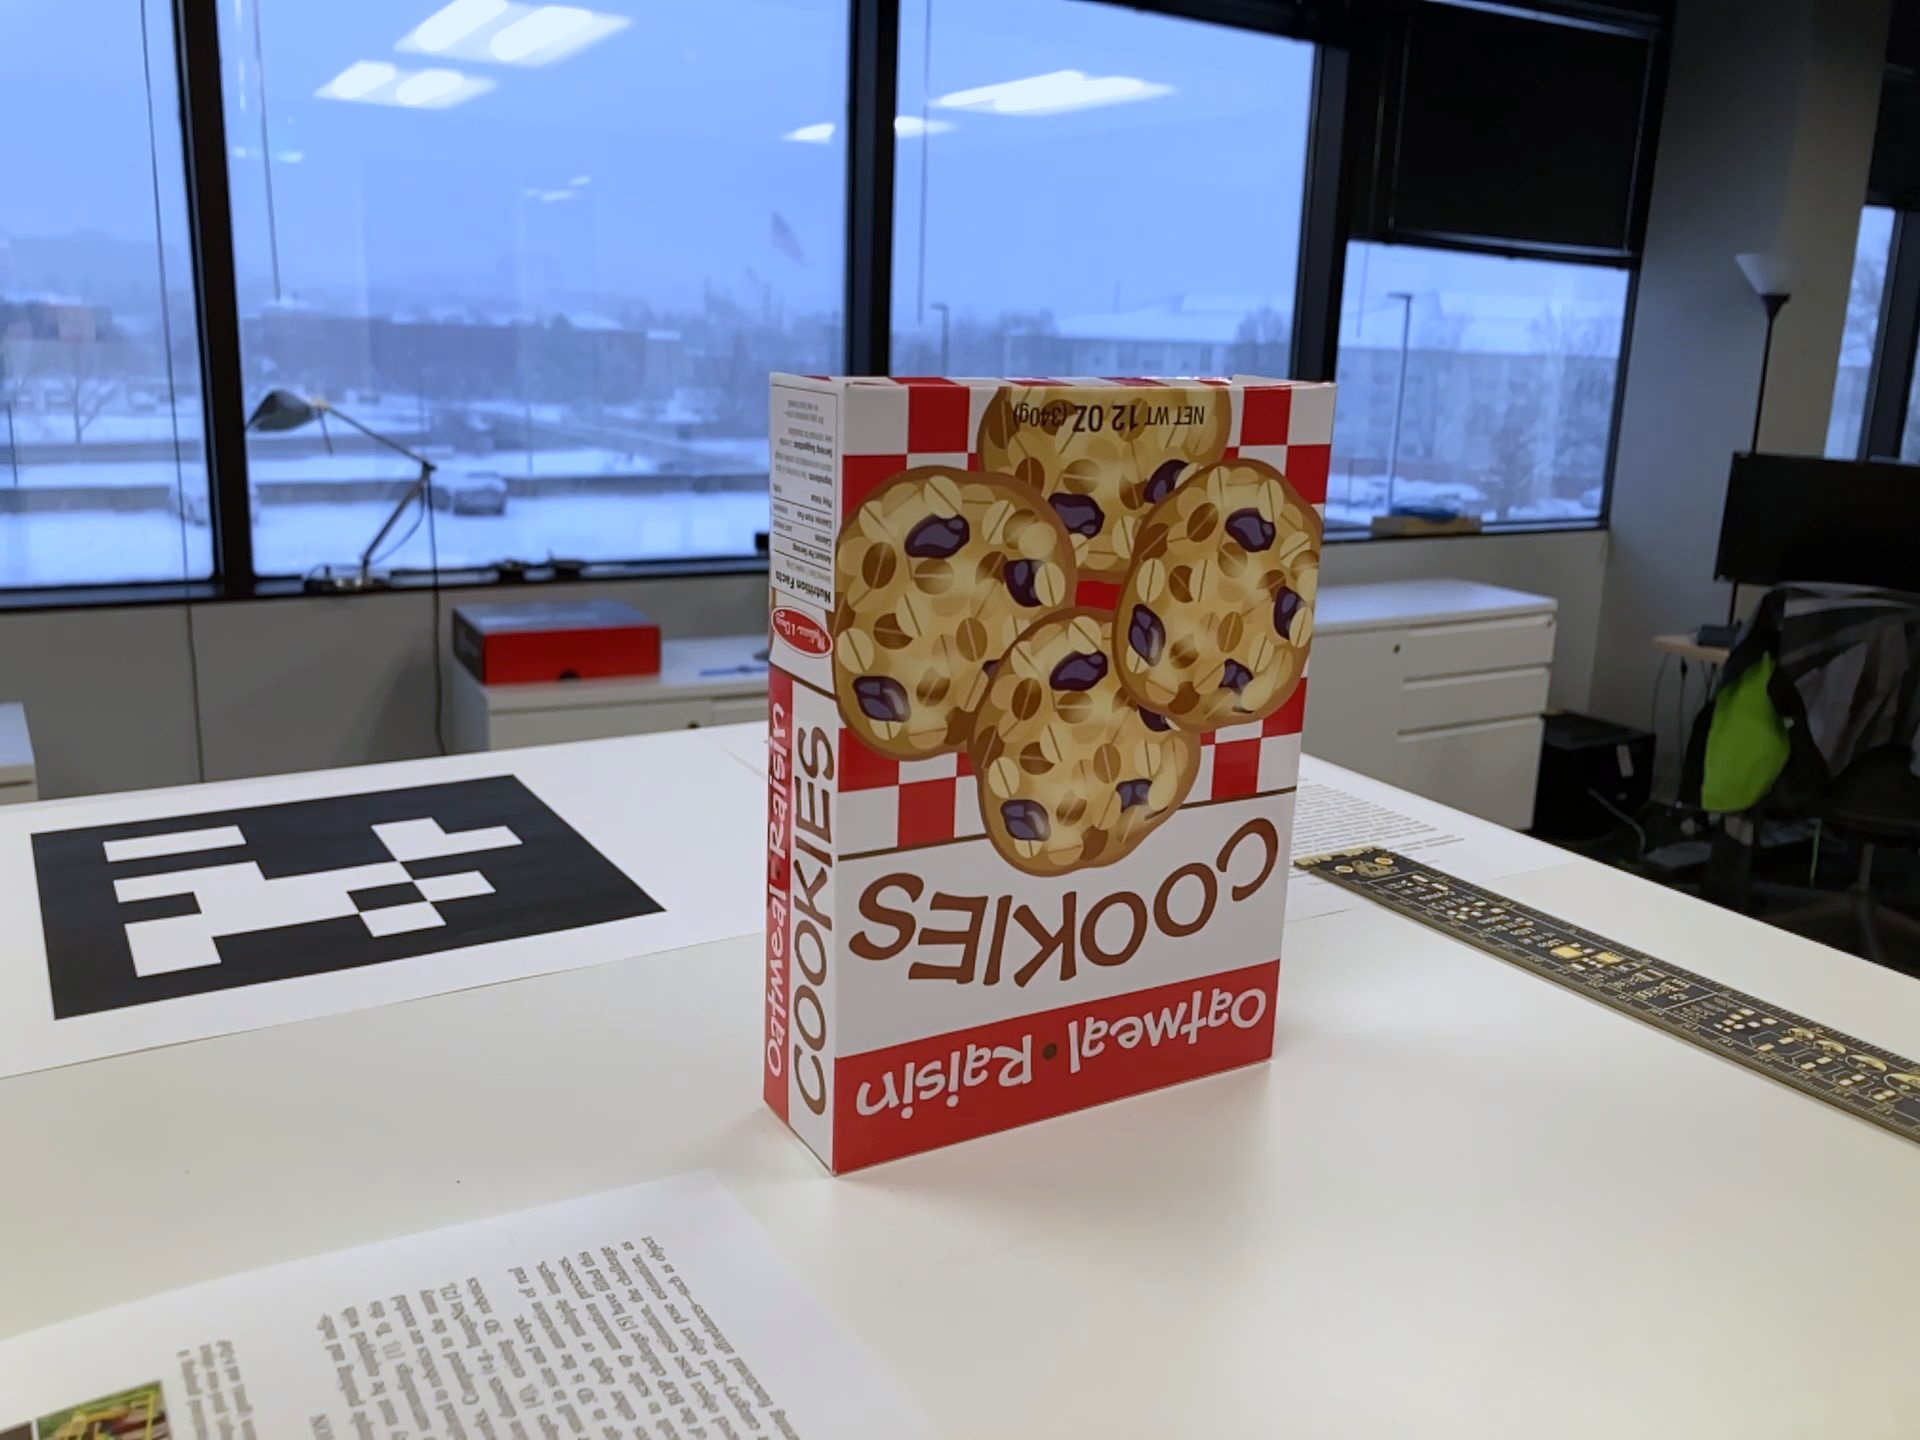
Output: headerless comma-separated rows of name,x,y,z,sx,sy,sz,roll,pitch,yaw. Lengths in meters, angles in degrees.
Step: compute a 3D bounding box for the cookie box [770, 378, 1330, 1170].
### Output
cookie box,0.019,0.007,0.364,0.123,0.167,0.040,-6,16,-29
